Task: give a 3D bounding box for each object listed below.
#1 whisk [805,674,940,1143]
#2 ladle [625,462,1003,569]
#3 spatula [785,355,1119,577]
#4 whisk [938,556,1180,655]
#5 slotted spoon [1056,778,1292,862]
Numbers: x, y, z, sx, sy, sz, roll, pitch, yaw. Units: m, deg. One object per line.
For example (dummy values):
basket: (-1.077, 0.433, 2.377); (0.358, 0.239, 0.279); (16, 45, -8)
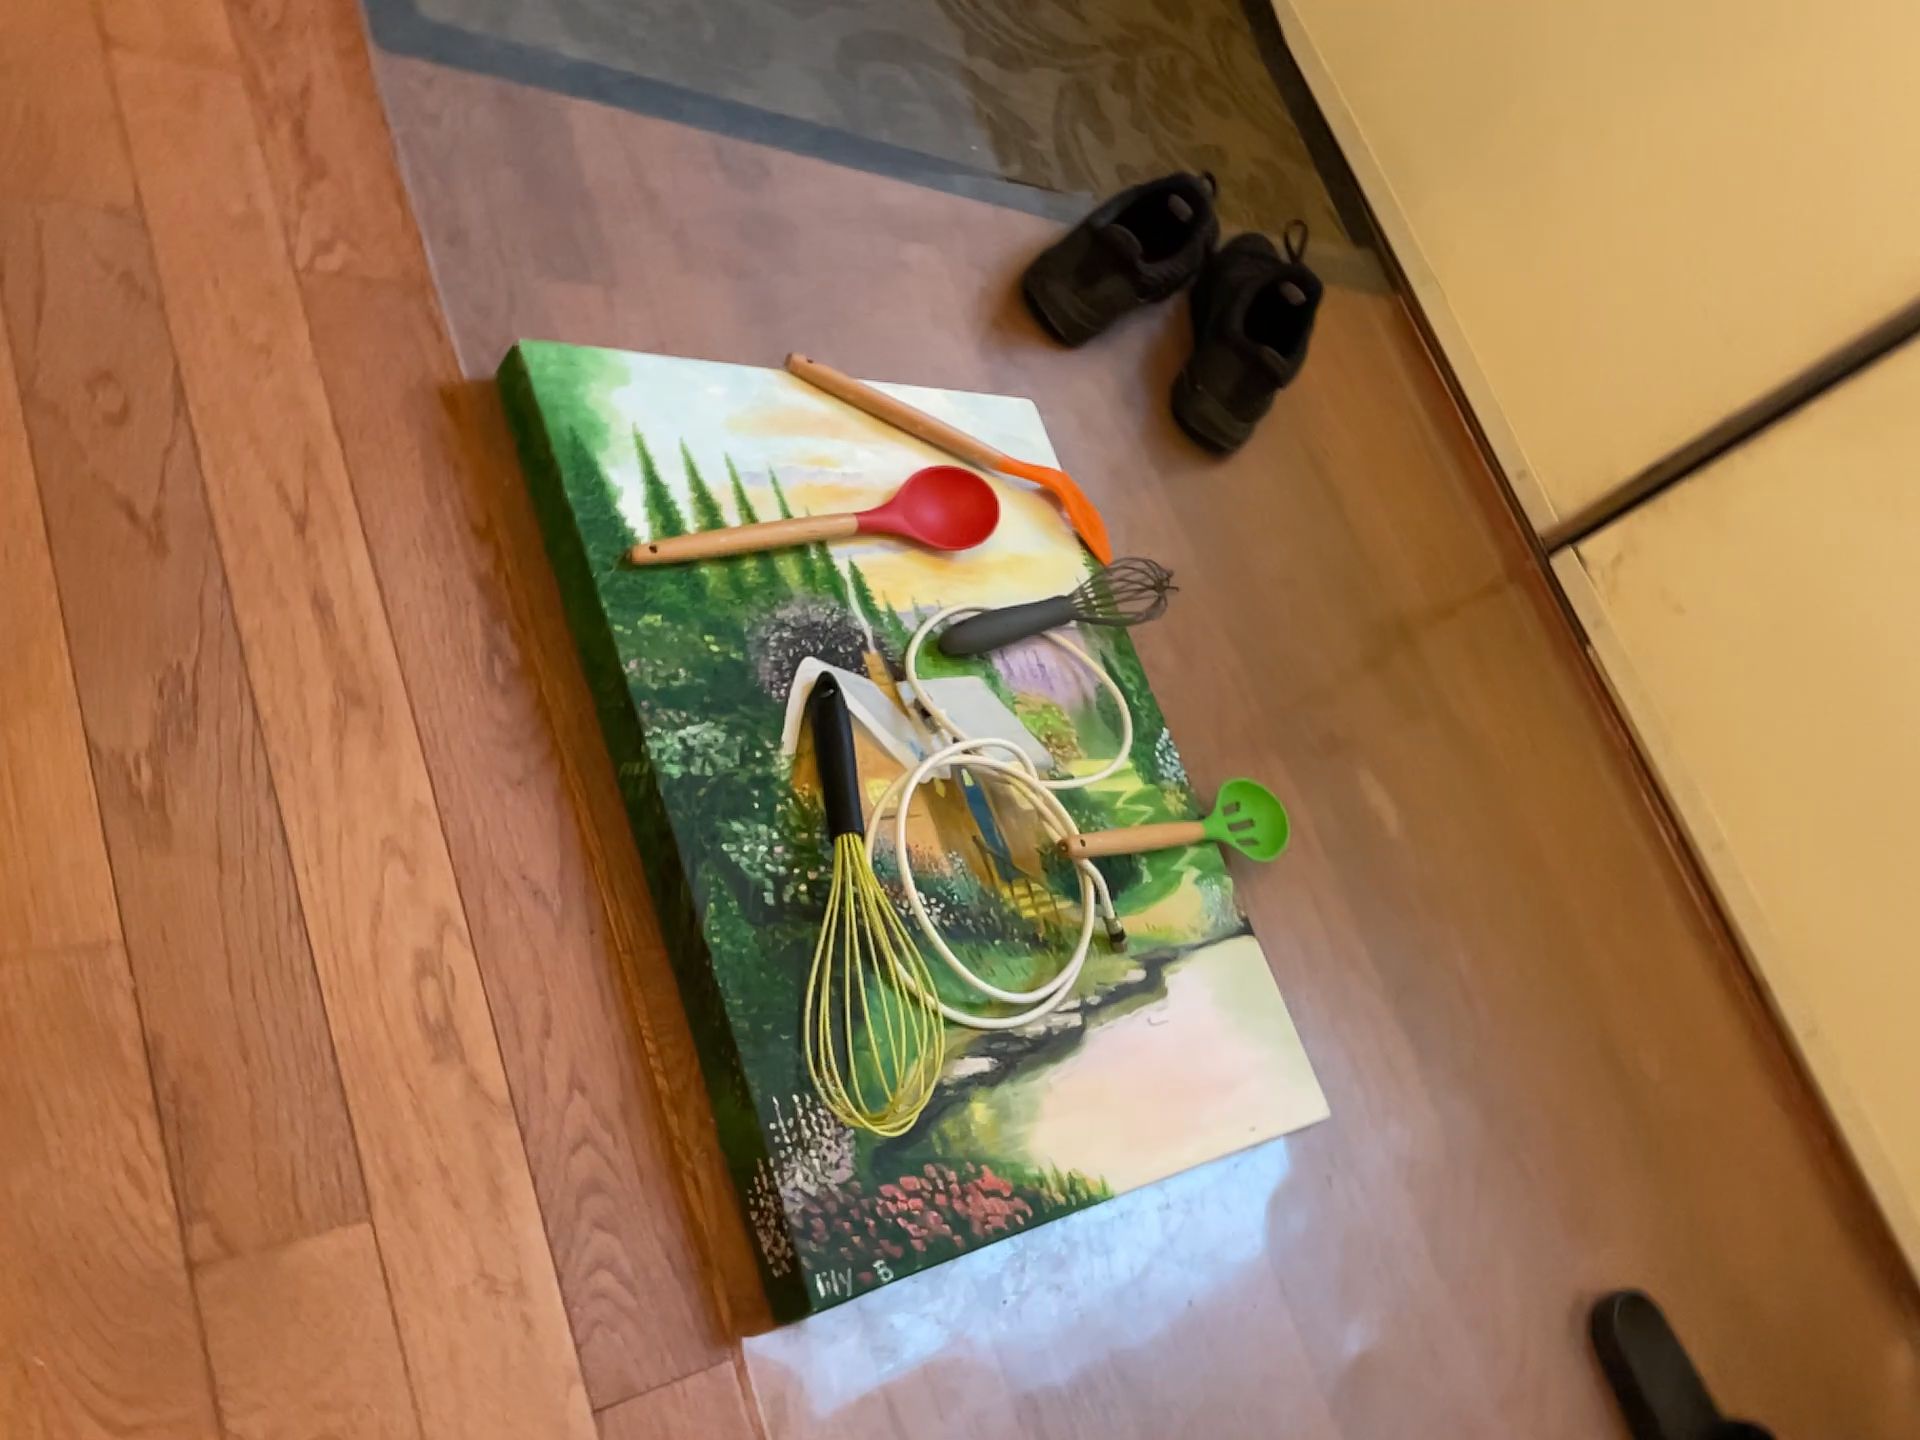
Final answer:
whisk: (-0.064, 0.101, 0.946); (0.079, 0.067, 0.312); (19, 47, -37)
ladle: (-0.092, -0.132, 1.086); (0.315, 0.031, 0.069); (-16, 74, -42)
spatula: (0.005, -0.202, 1.226); (0.322, 0.041, 0.081); (21, 41, -27)
whisk: (0.077, -0.082, 1.183); (0.239, 0.055, 0.055); (-18, 66, -39)
slotted spoon: (0.158, 0.081, 1.152); (0.313, 0.031, 0.070); (-1, 65, -54)
